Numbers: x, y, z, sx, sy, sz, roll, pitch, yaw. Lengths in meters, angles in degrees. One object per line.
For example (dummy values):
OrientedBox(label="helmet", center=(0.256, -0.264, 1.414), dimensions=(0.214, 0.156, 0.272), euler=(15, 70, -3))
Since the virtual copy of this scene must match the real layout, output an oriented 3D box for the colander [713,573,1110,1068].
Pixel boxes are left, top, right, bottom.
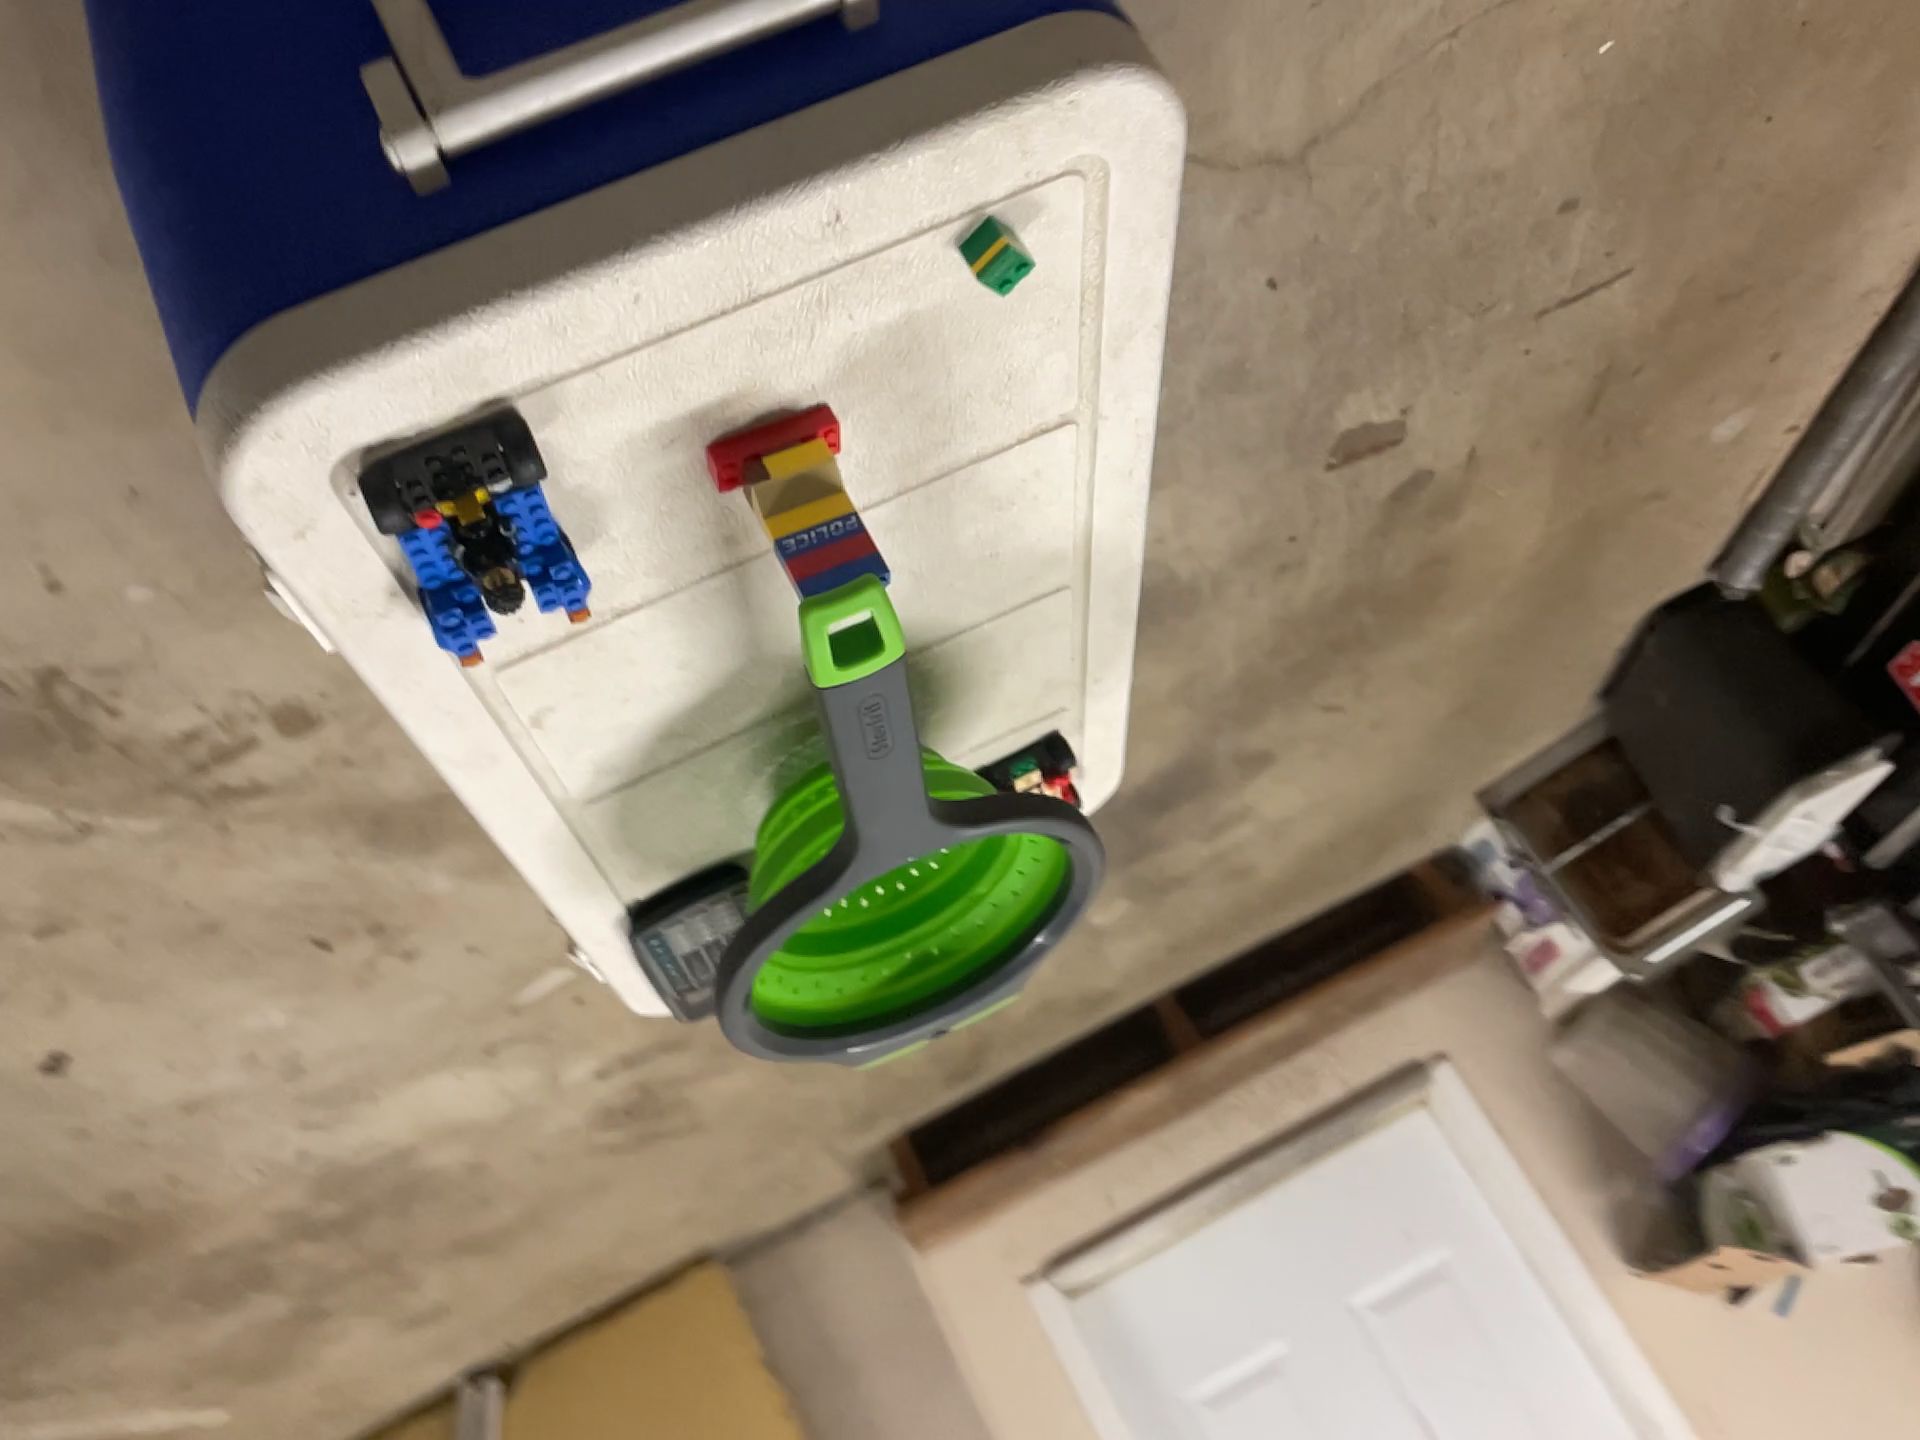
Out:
OrientedBox(label="colander", center=(-0.041, 0.035, 0.728), dimensions=(0.205, 0.095, 0.396), euler=(-22, 149, -10))
